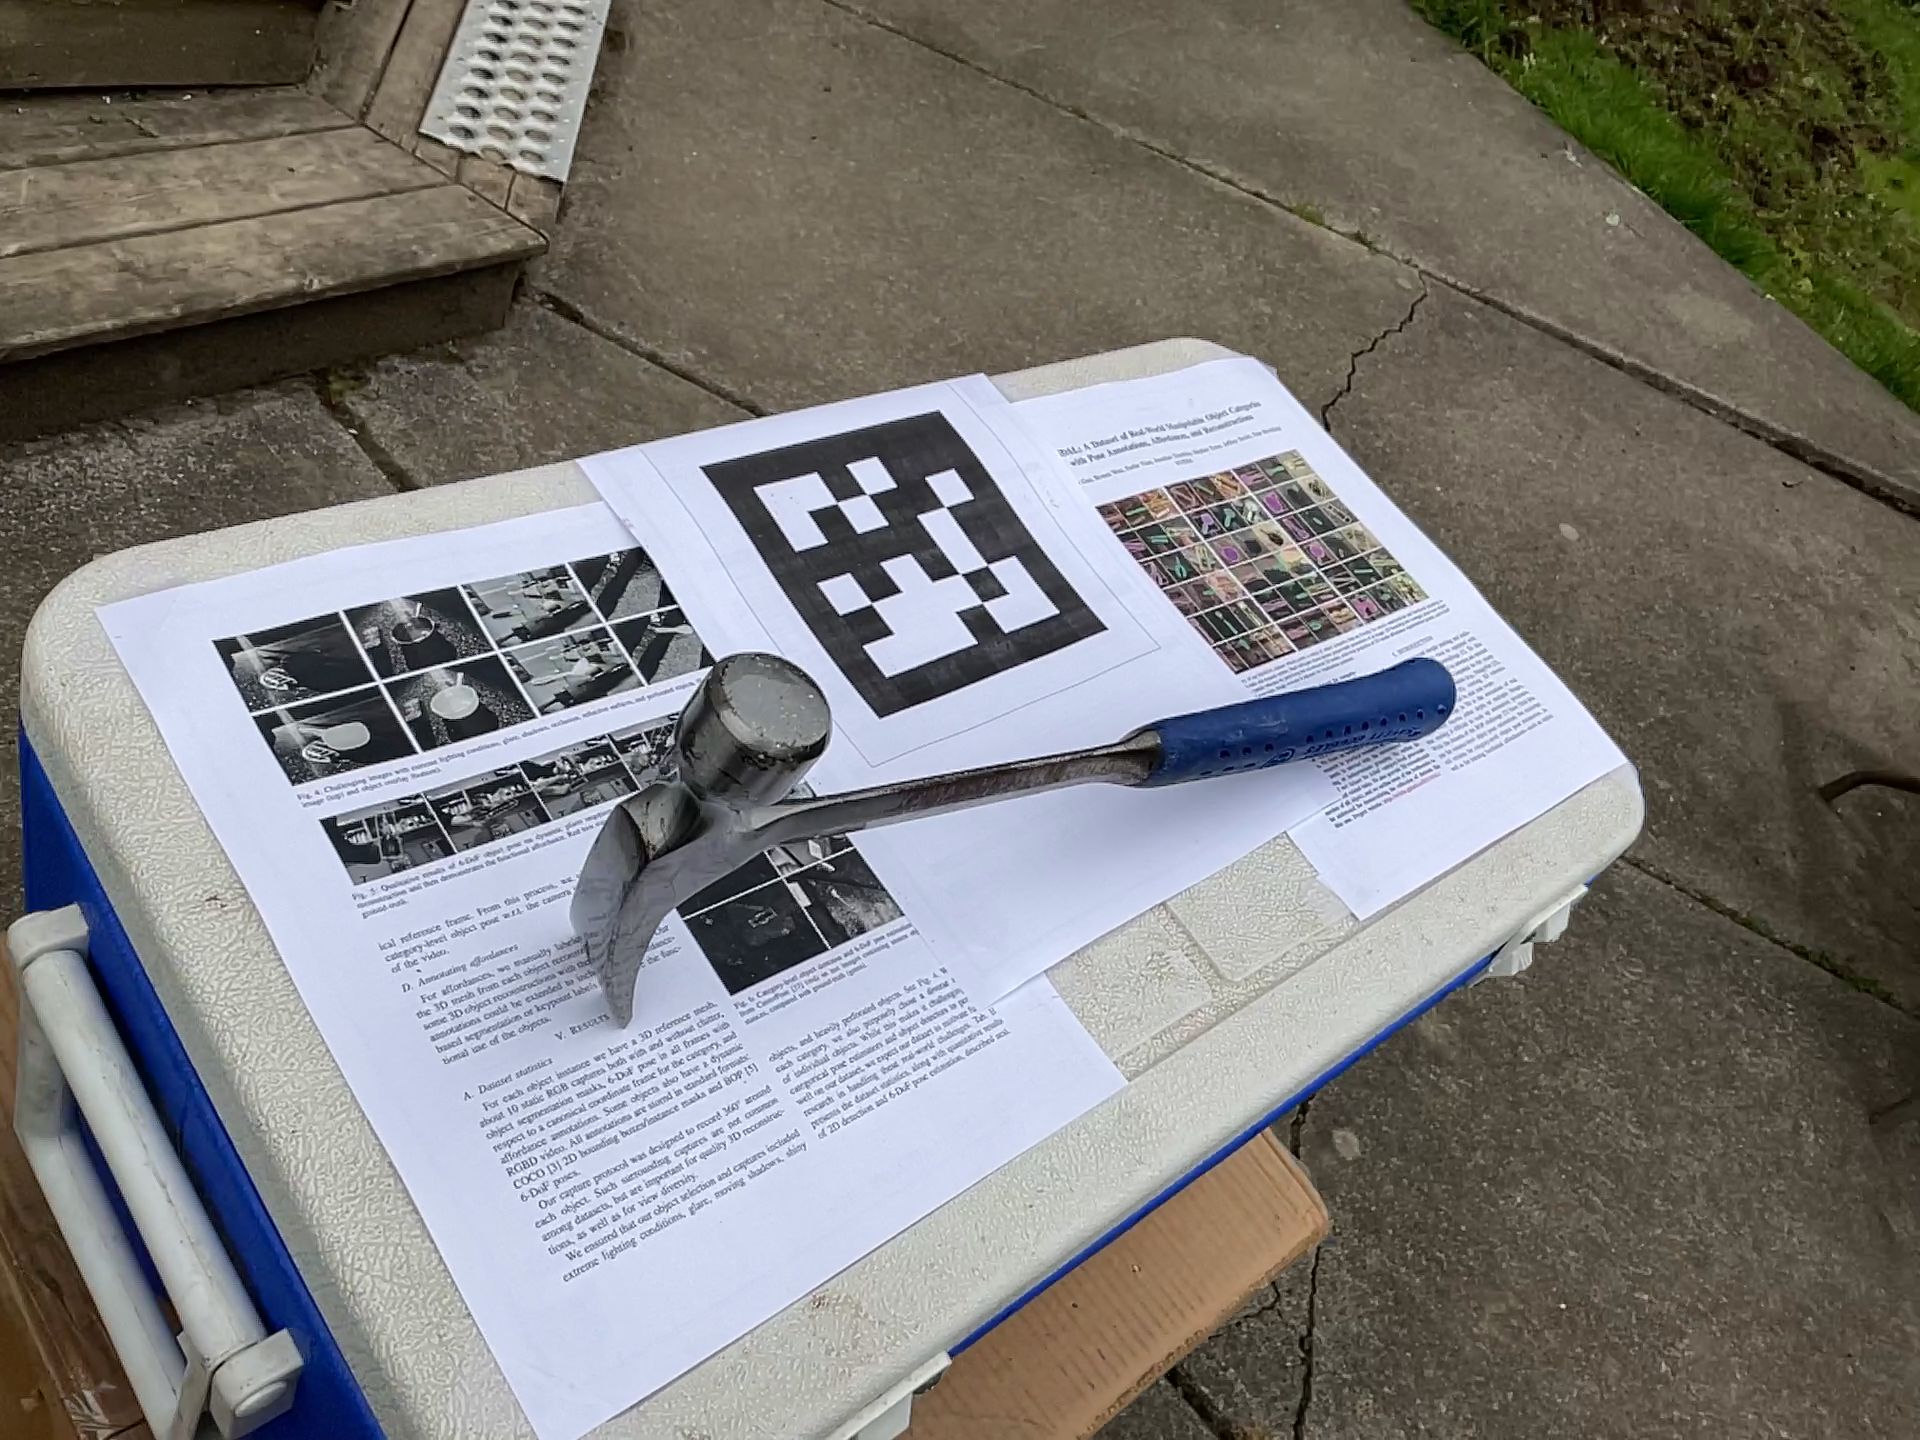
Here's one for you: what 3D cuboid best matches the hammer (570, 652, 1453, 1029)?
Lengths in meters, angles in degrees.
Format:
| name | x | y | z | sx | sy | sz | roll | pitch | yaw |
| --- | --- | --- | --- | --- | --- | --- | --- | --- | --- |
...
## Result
| name | x | y | z | sx | sy | sz | roll | pitch | yaw |
| --- | --- | --- | --- | --- | --- | --- | --- | --- | --- |
| hammer | 0.050 | 0.017 | 0.556 | 0.405 | 0.144 | 0.035 | -9 | 59 | -44 |
